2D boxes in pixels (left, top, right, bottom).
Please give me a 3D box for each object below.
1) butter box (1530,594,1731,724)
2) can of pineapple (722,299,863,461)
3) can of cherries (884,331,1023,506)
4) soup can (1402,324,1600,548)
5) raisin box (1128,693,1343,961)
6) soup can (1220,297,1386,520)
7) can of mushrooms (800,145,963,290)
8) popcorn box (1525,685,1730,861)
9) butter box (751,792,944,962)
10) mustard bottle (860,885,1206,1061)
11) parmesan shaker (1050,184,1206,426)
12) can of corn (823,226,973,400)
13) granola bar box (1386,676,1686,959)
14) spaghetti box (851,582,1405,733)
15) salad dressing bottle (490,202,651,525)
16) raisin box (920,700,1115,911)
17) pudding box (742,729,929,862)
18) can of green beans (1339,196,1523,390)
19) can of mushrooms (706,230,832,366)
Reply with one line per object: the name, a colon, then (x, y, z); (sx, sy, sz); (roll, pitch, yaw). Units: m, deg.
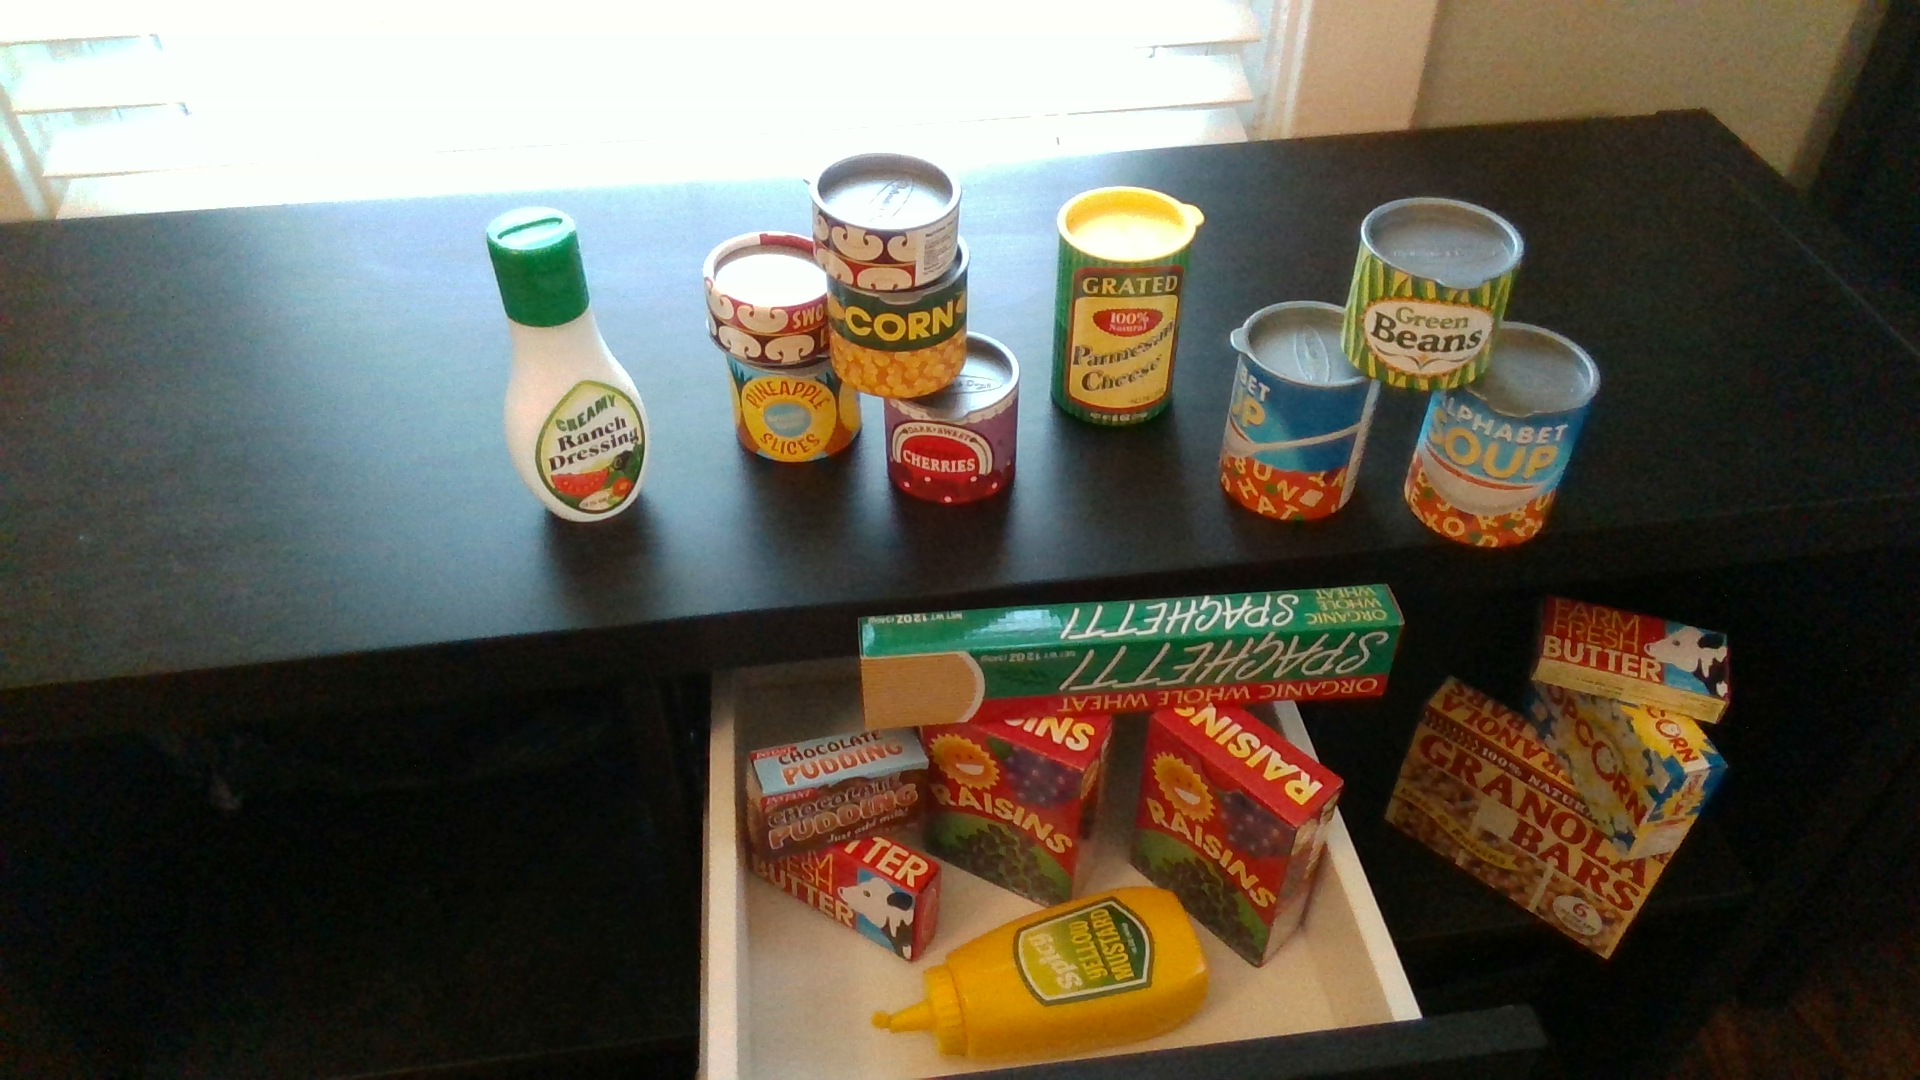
butter box: (0.386, 0.068, 0.802); (0.103, 0.024, 0.053); (13, 47, 16)
can of pineapple: (-0.081, -0.079, 0.685); (0.071, 0.057, 0.071); (0, 44, 0)
can of cherries: (-0.004, -0.057, 0.663); (0.071, 0.058, 0.072); (0, 44, 0)
soup can: (0.245, -0.046, 0.636); (0.071, 0.083, 0.072); (1, 43, -1)
raisin box: (0.128, 0.136, 0.669); (0.040, 0.122, 0.086); (-35, 55, -29)
soup can: (0.156, -0.061, 0.651); (0.071, 0.083, 0.072); (0, 43, 0)
can of mushrooms: (-0.035, -0.141, 0.604); (0.071, 0.071, 0.033); (0, -43, -2)
popcorn box: (0.393, 0.114, 0.829); (0.038, 0.084, 0.127); (-7, 43, -8)
butter box: (-0.058, 0.162, 0.686); (0.103, 0.052, 0.024); (23, 39, 23)
mustard bottle: (0.032, 0.209, 0.647); (0.160, 0.048, 0.065); (-12, 48, -15)
parmesan shaker: (0.082, -0.115, 0.692); (0.071, 0.102, 0.072); (0, 45, 1)
can of corn: (-0.028, -0.104, 0.632); (0.071, 0.058, 0.071); (1, 43, -1)
granola bar box: (0.371, 0.181, 0.905); (0.166, 0.123, 0.039); (32, 50, 29)
spaghetti box: (0.076, 0.053, 0.632); (0.250, 0.049, 0.029); (-3, 39, -6)
salad dressing bottle: (-0.175, -0.075, 0.616); (0.064, 0.146, 0.044); (-26, 48, -26)
raisin box: (0.026, 0.121, 0.680); (0.086, 0.122, 0.040); (20, 47, 19)
pudding box: (-0.059, 0.118, 0.660); (0.084, 0.049, 0.030); (-8, 38, -21)
can of green beans: (0.201, -0.106, 0.600); (0.071, 0.057, 0.071); (-1, 44, 1)
can of mushrooms: (-0.085, -0.115, 0.659); (0.071, 0.071, 0.033); (0, -44, -6)
